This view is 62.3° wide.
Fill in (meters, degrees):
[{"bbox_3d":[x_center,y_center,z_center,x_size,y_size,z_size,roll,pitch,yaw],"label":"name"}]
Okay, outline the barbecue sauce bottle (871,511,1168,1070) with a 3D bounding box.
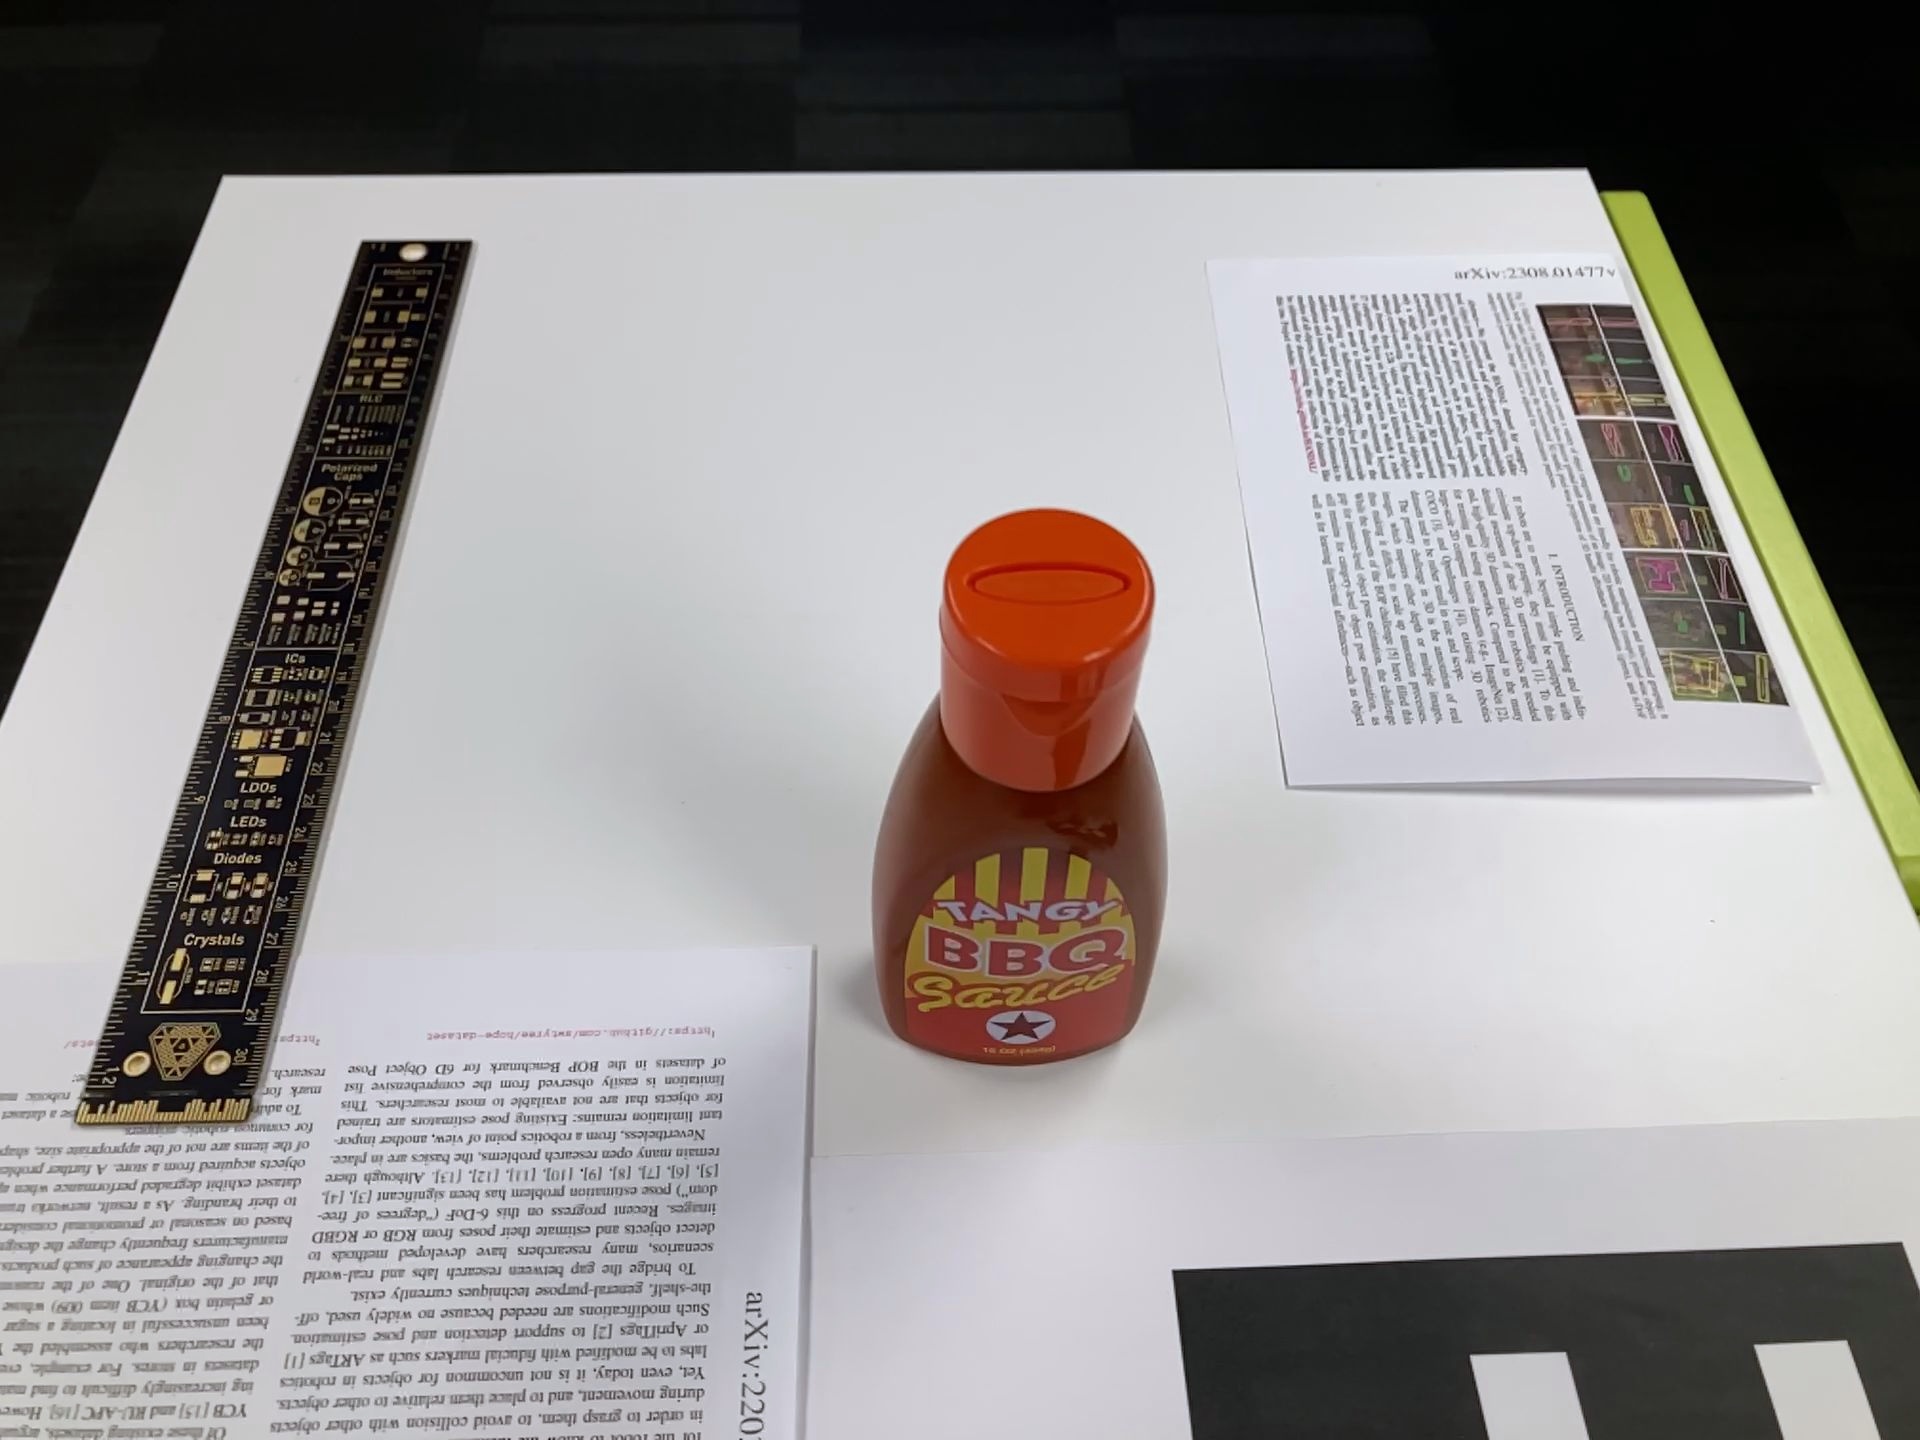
[{"bbox_3d":[0.013,0.021,0.326,0.065,0.148,0.043,0,53,-1],"label":"barbecue sauce bottle"}]
